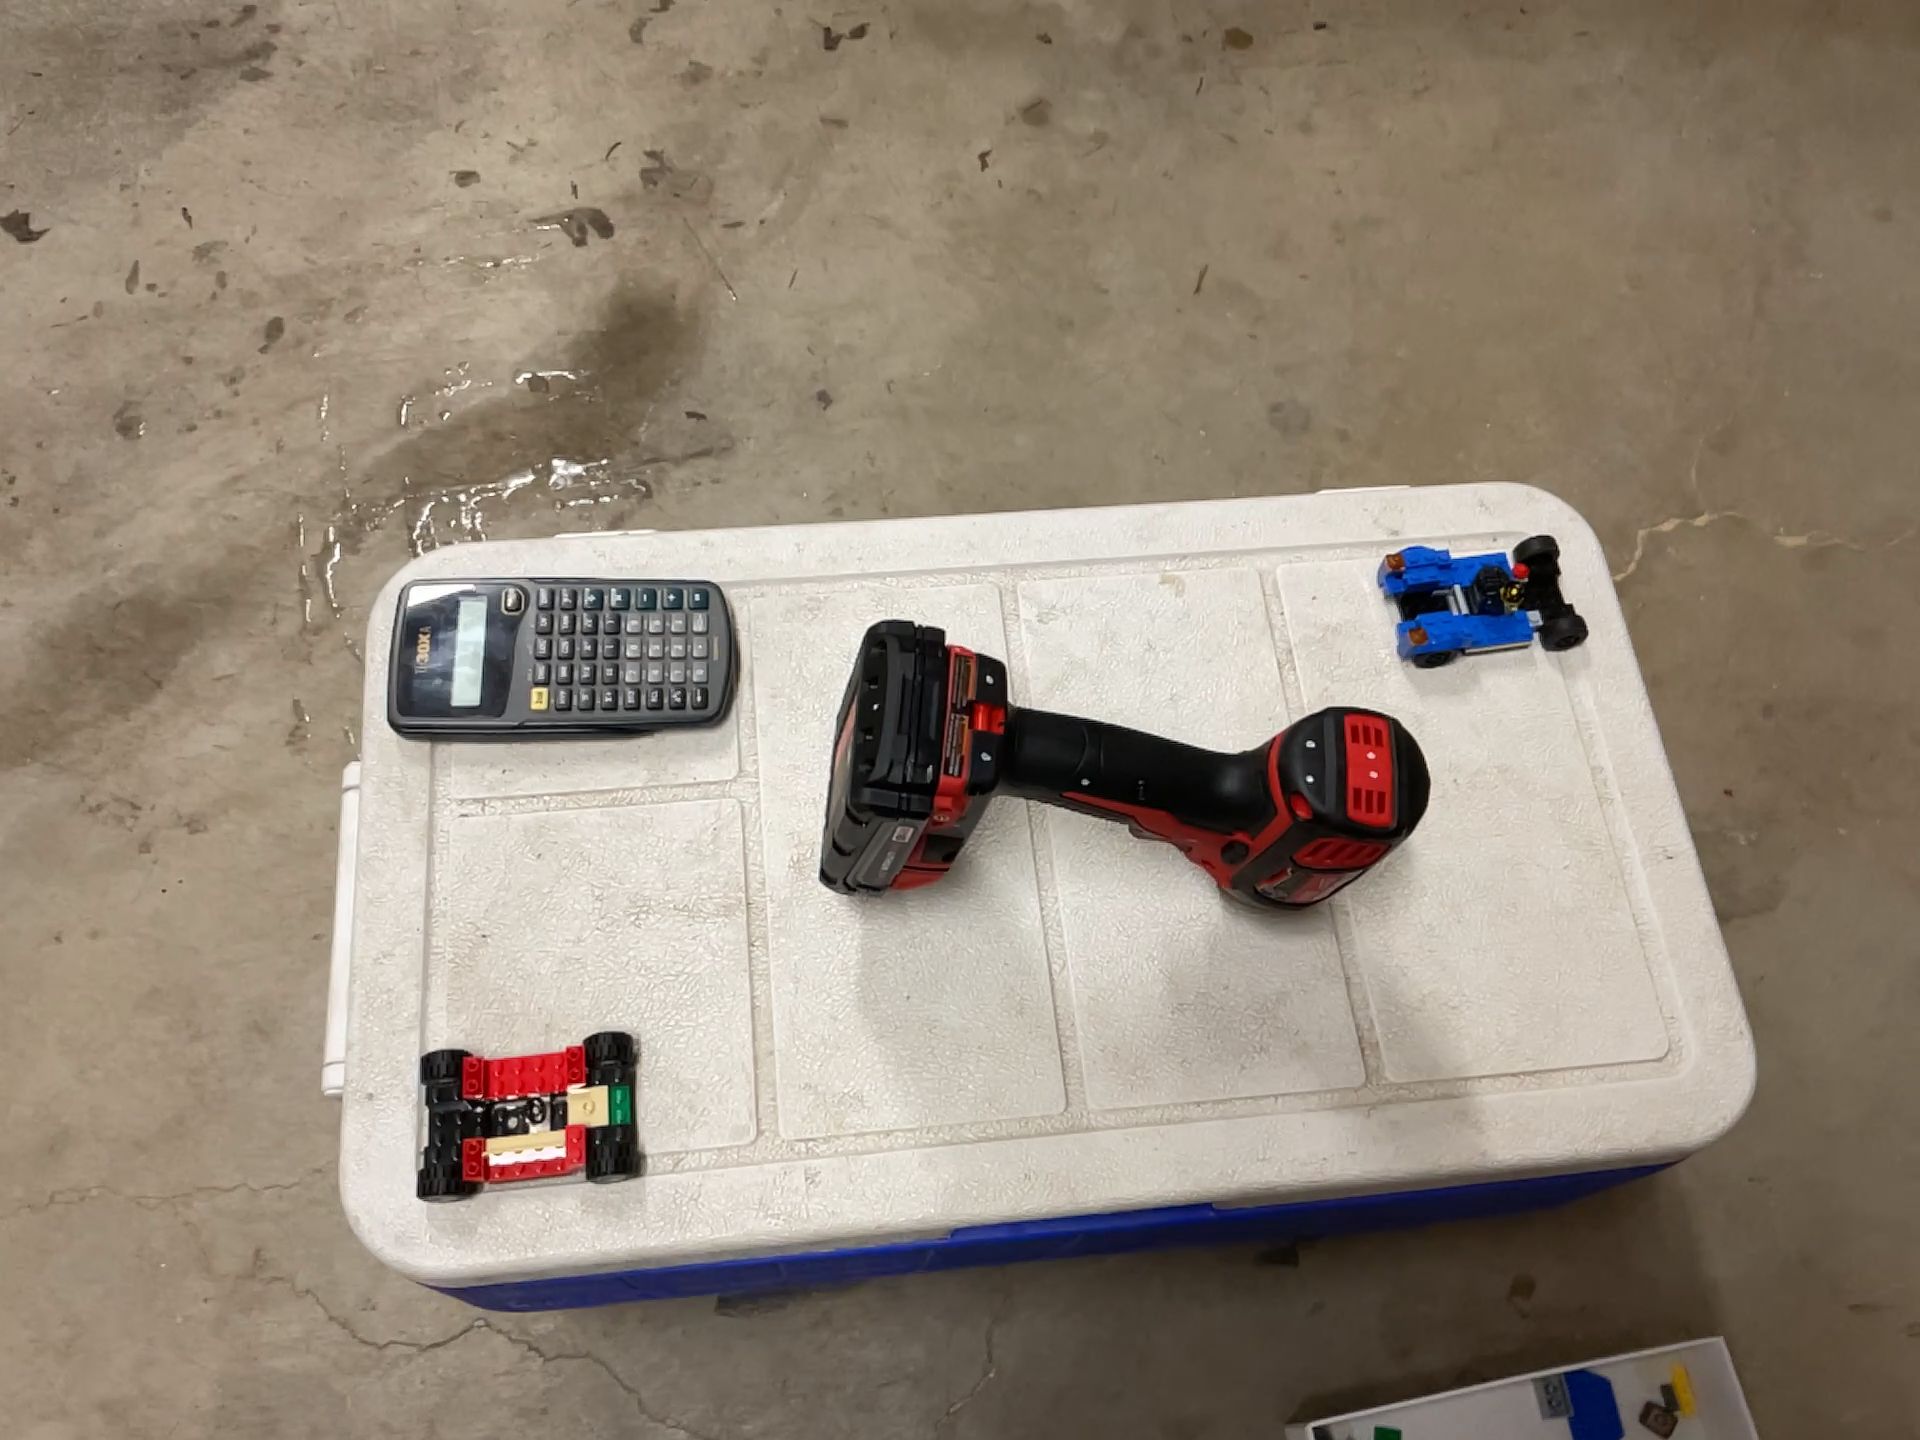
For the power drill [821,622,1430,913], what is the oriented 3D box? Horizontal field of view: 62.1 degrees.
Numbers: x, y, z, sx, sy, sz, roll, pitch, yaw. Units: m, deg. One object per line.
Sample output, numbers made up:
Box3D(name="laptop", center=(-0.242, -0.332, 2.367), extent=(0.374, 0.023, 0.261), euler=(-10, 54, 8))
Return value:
Box3D(name="power drill", center=(0.060, 0.033, 0.645), extent=(0.219, 0.143, 0.079), euler=(8, 66, -8))
